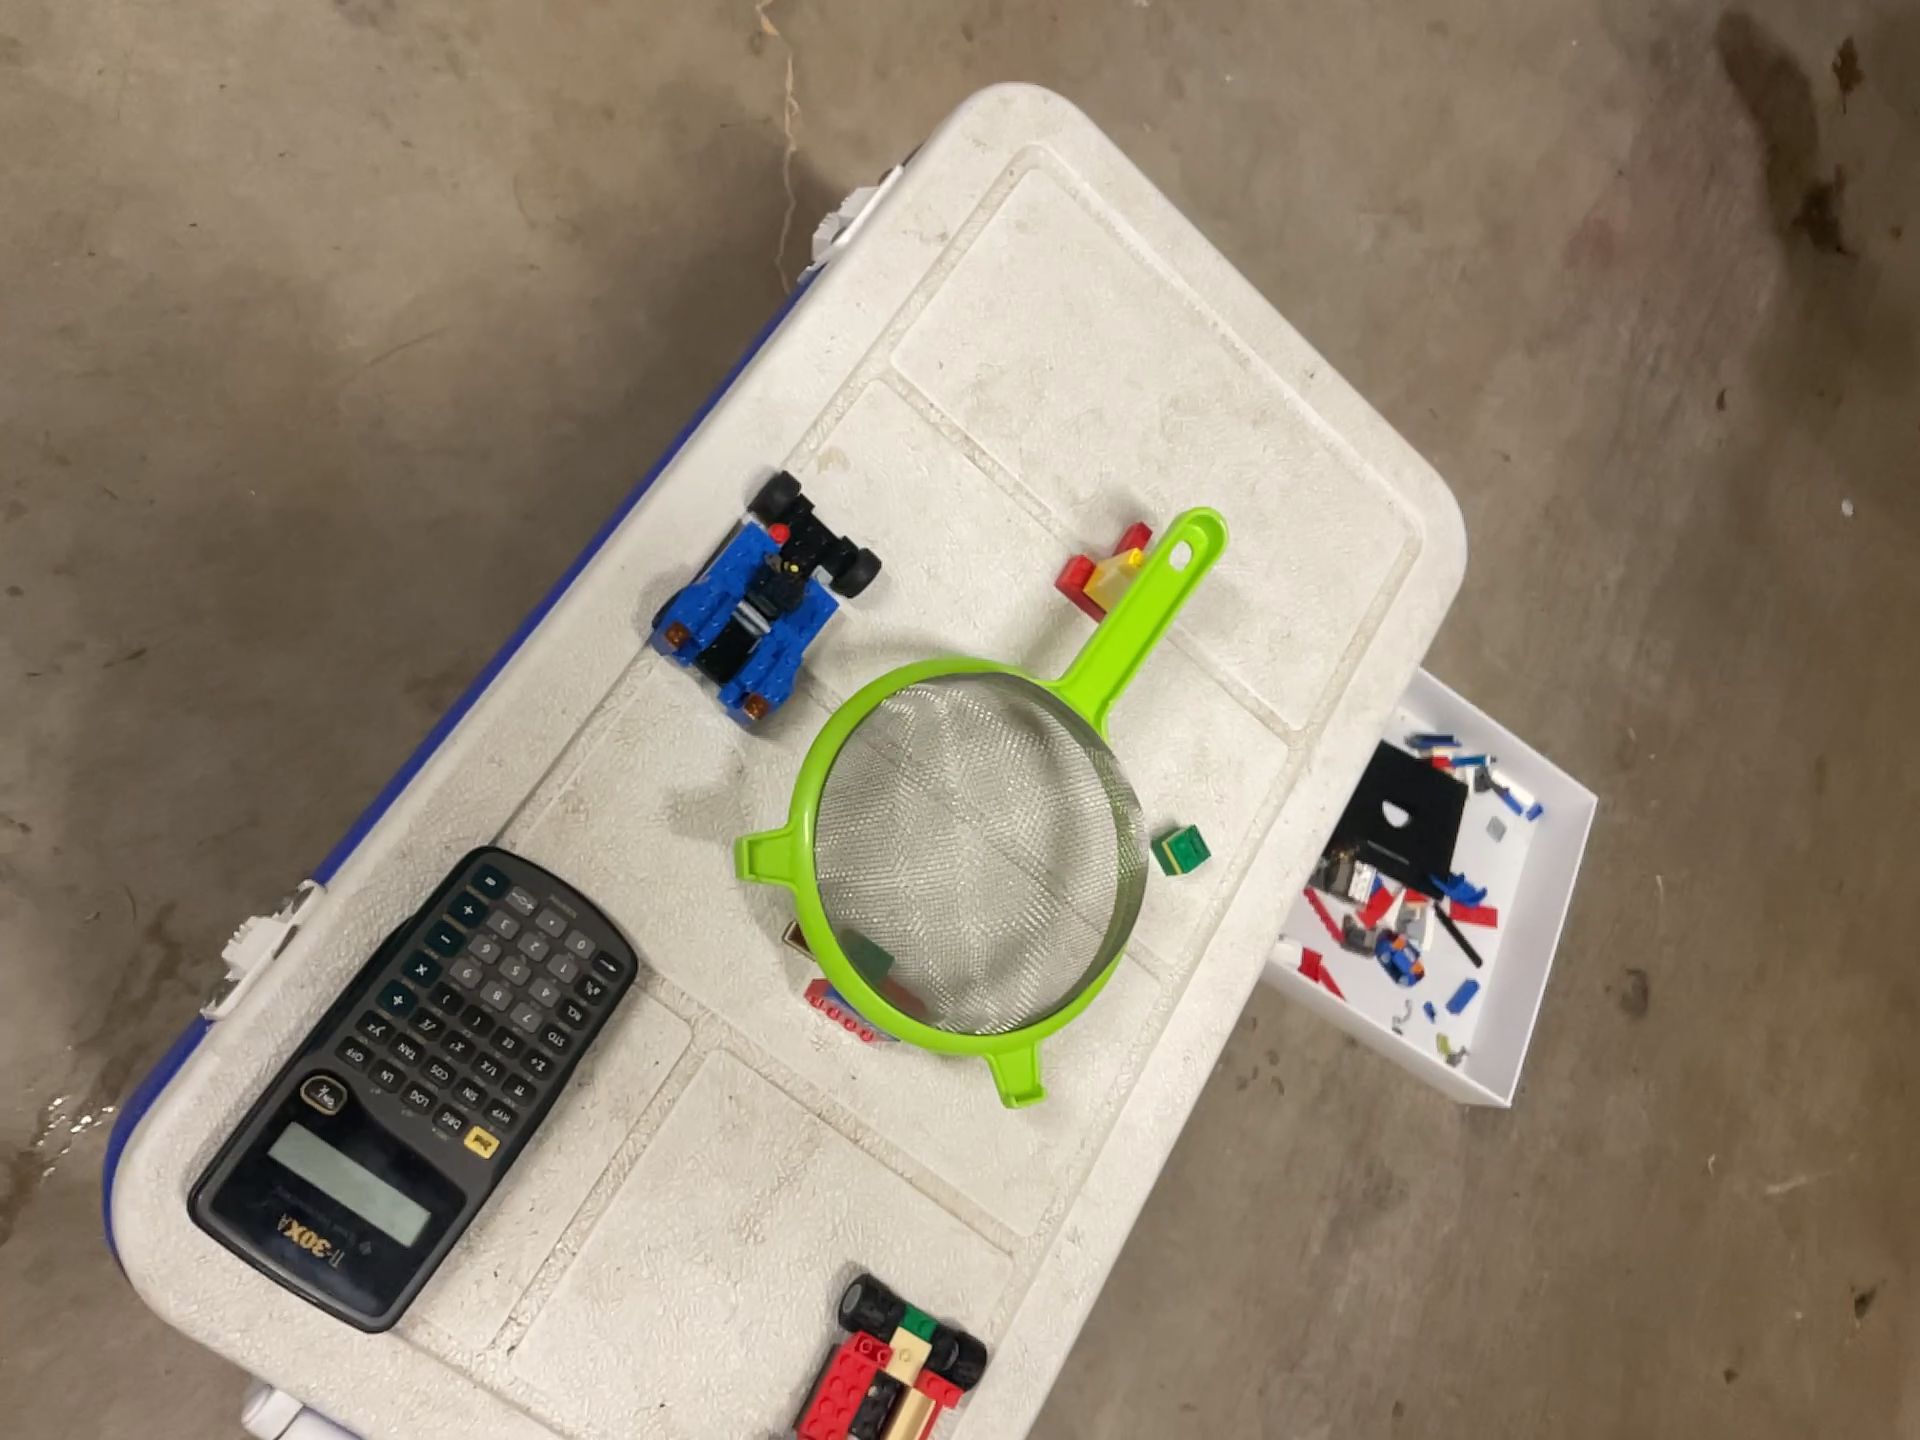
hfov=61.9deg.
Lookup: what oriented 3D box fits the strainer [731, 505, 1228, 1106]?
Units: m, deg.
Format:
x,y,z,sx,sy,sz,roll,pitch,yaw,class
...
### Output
x,y,z,sx,sy,sz,roll,pitch,yaw,class
0.045,0.007,0.603,0.151,0.069,0.256,42,67,-14,strainer
